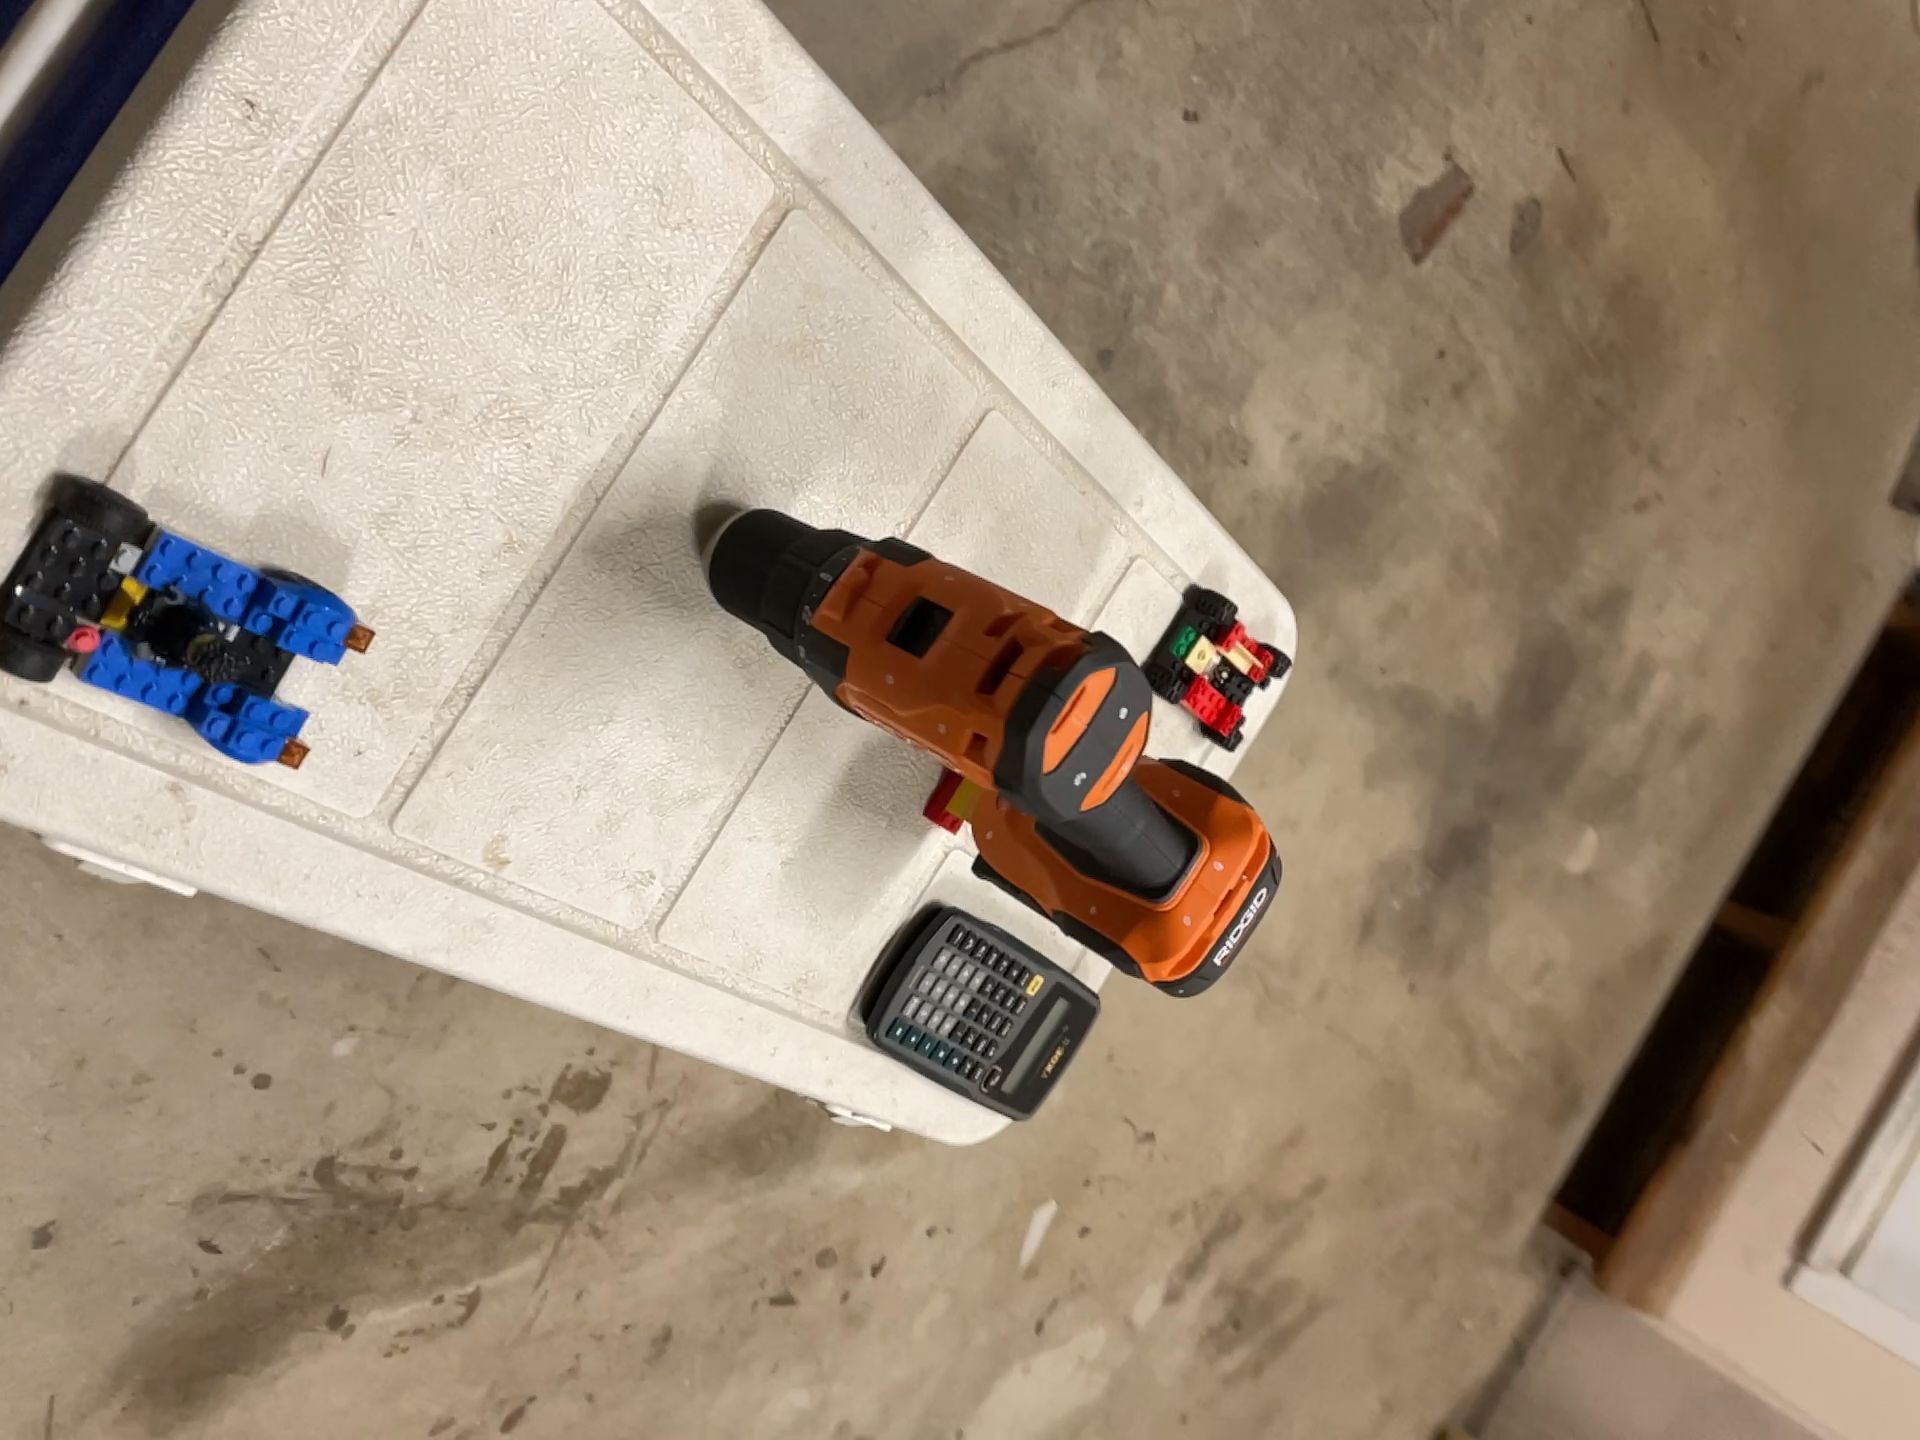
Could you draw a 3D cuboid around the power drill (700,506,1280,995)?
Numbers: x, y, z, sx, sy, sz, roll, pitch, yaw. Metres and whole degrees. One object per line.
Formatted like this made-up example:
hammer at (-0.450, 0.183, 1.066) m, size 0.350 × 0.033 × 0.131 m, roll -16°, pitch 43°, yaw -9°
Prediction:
power drill at (0.012, 0.007, 0.598) m, size 0.084 × 0.185 × 0.226 m, roll -55°, pitch 143°, yaw -8°
